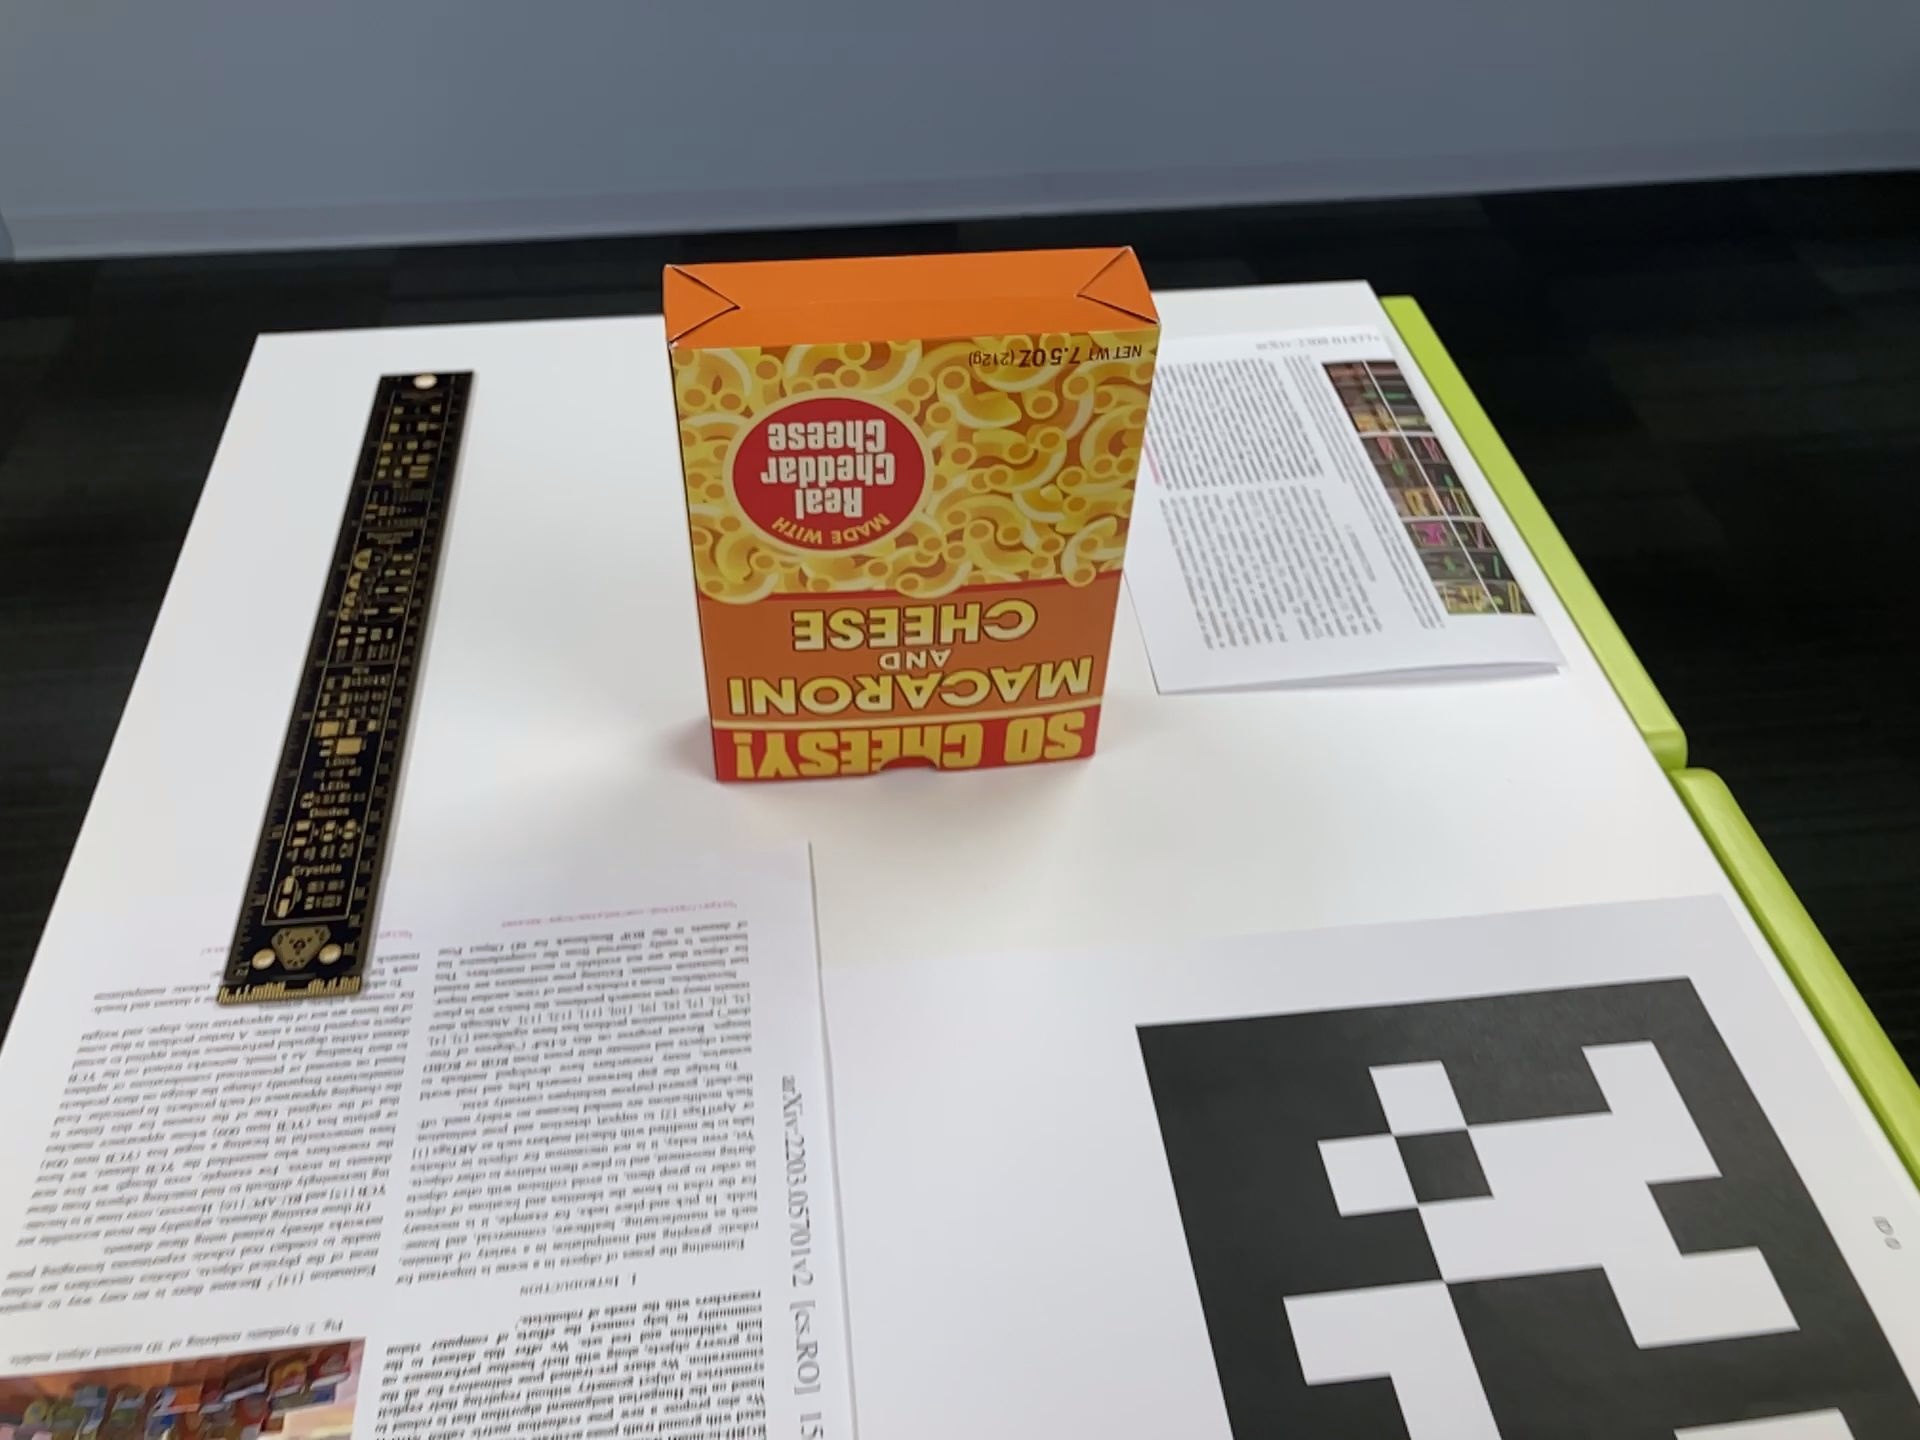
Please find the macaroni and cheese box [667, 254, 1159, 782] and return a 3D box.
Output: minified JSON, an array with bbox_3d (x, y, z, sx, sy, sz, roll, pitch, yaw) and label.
[{"bbox_3d":[-0.017,-0.051,0.463,0.124,0.166,0.040,-3,47,-7],"label":"macaroni and cheese box"}]
